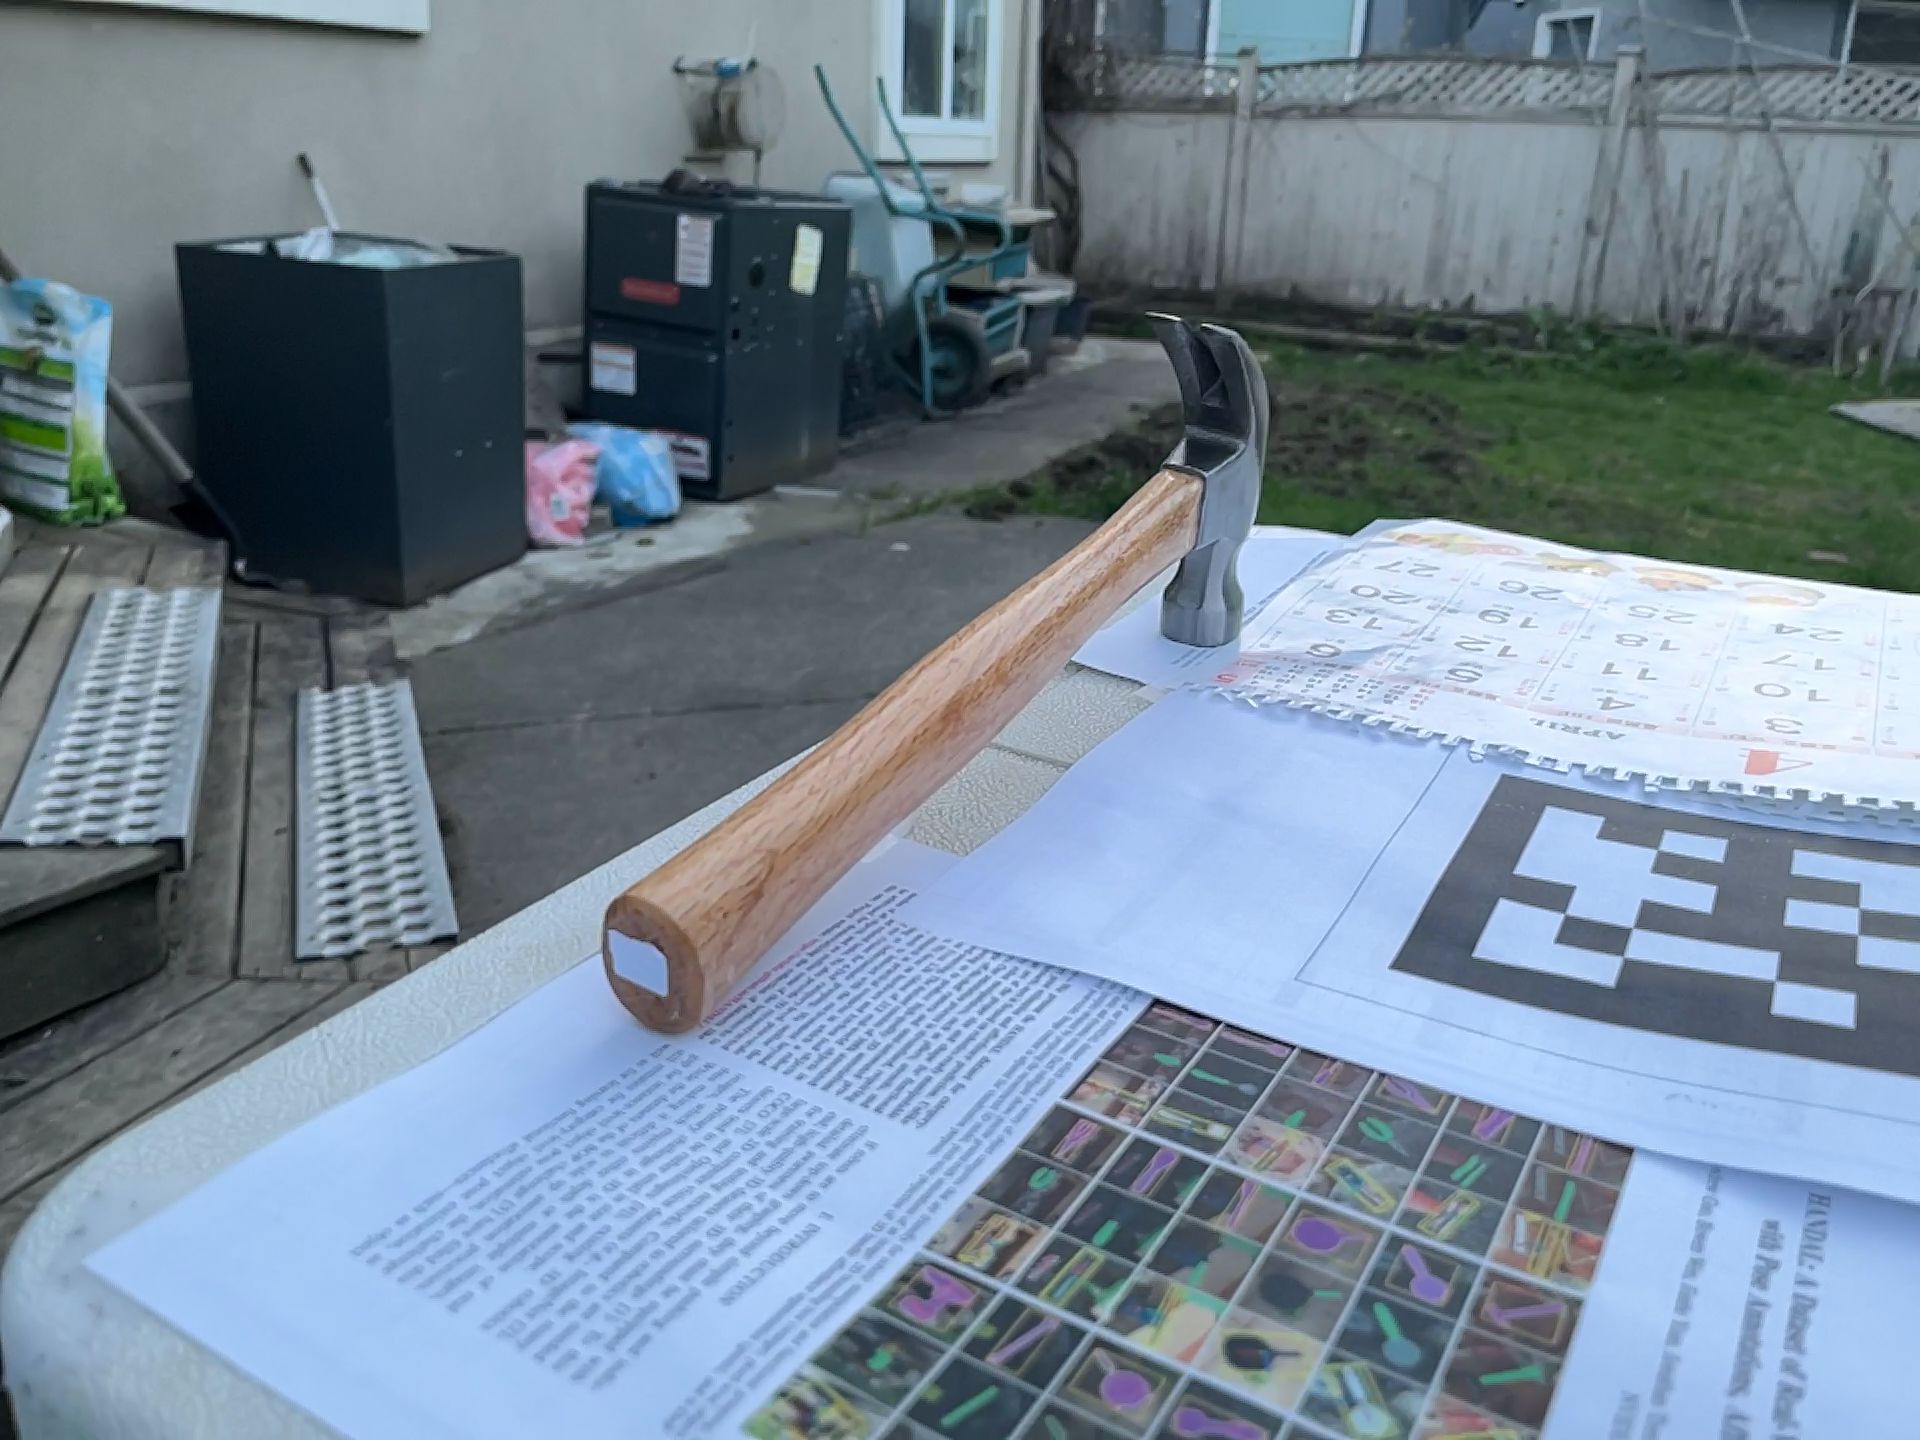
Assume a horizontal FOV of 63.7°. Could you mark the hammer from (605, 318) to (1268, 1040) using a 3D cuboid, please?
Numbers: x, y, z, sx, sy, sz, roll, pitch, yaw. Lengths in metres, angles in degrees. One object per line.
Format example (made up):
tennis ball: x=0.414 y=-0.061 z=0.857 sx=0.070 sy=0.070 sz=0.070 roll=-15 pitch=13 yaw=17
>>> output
hammer: x=0.018 y=-0.022 z=0.444 sx=0.031 sy=0.130 sz=0.331 roll=18 pitch=36 yaw=25
